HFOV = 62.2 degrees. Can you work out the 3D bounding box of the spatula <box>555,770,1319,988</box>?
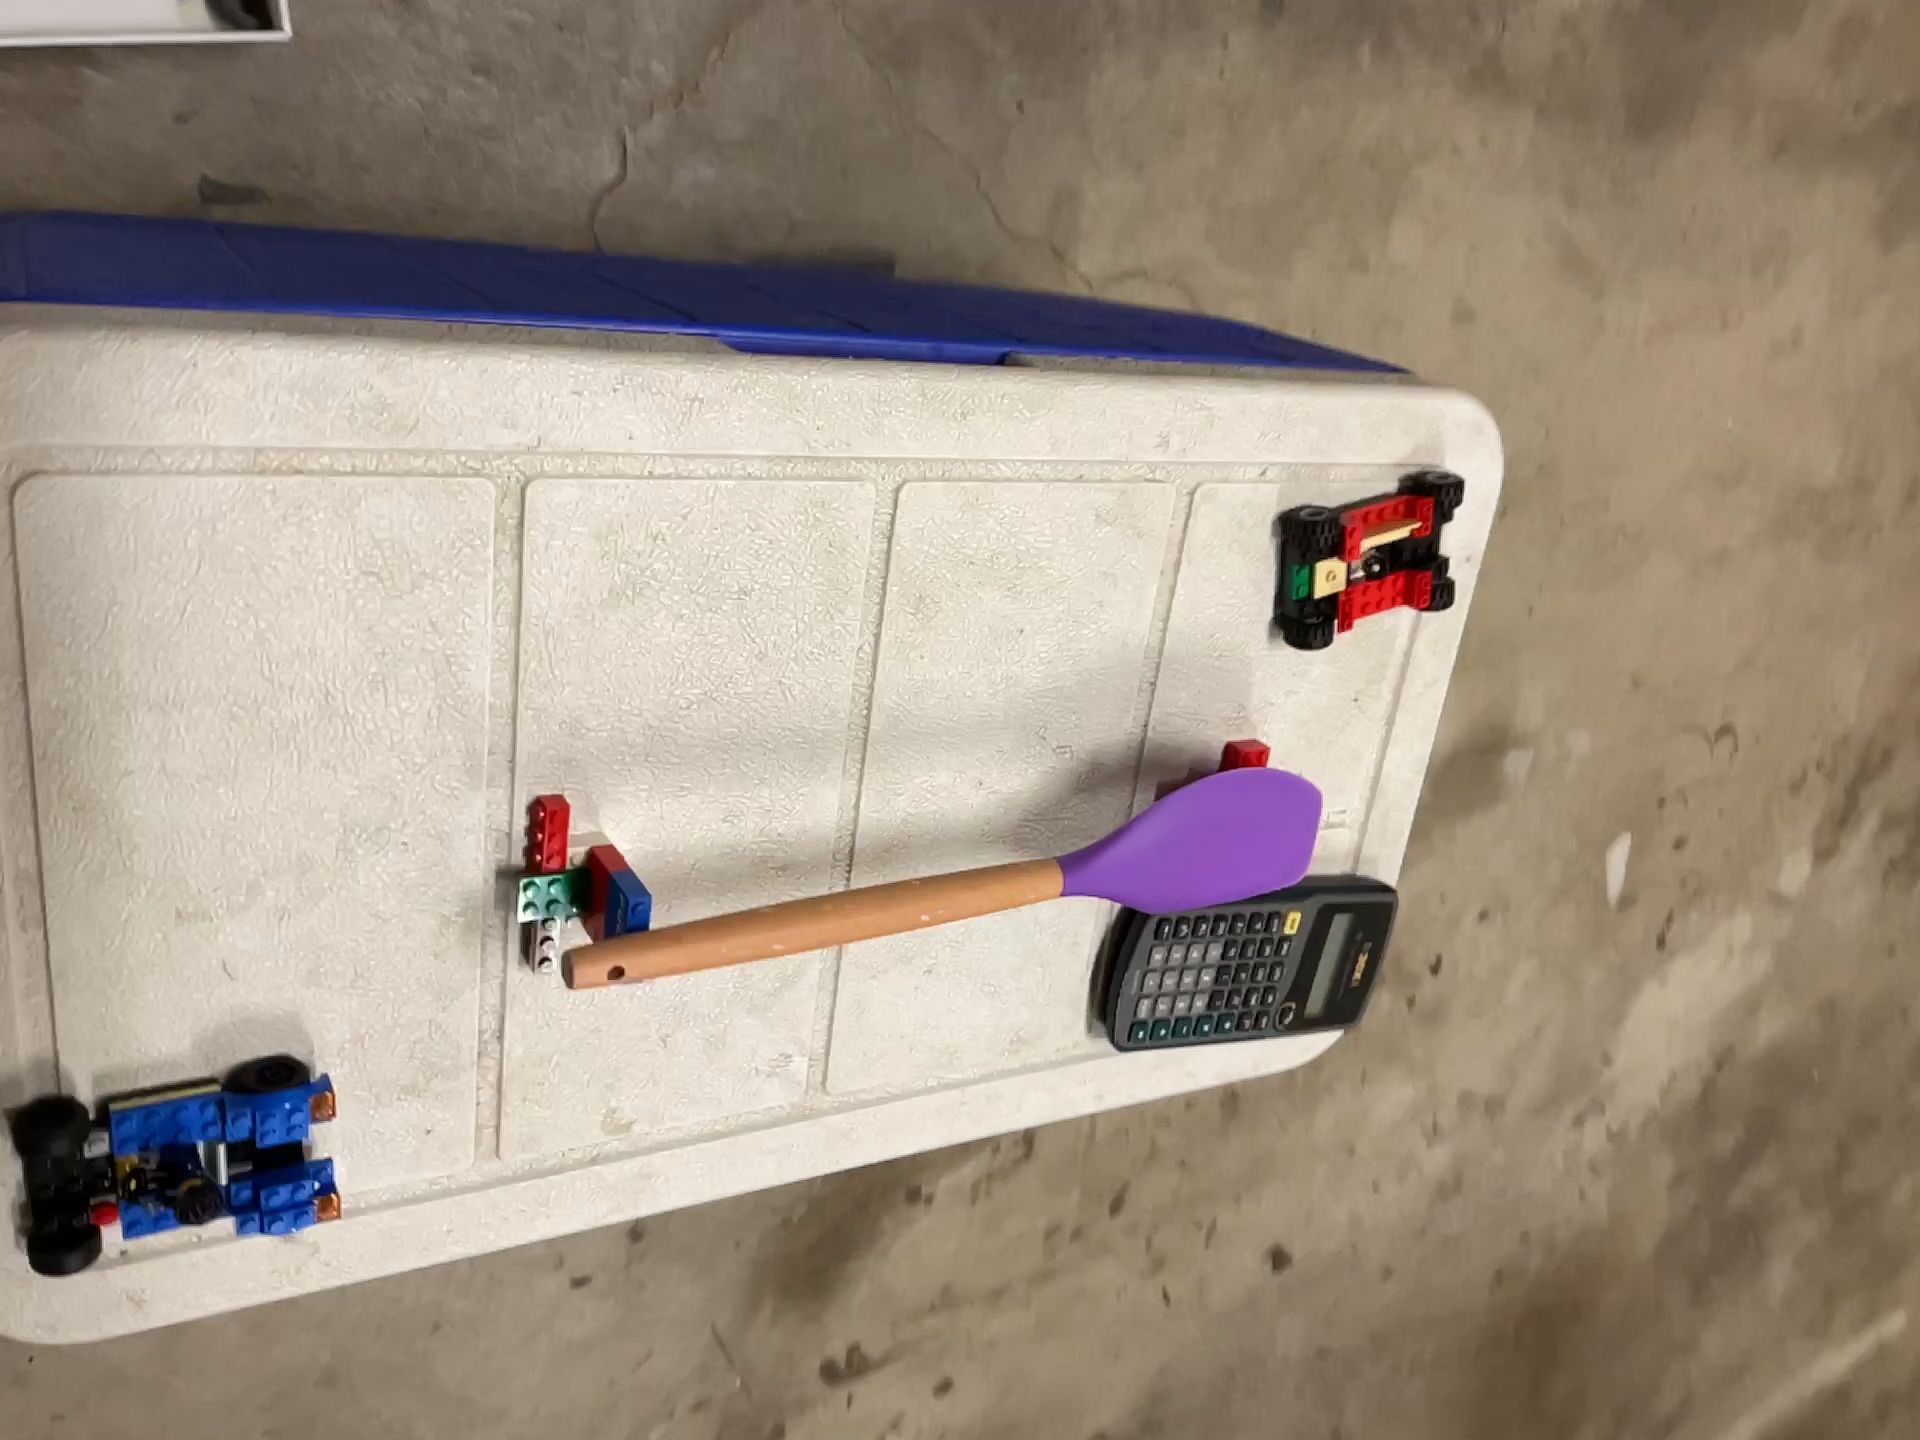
[{"bbox_3d":[0.011,0.059,0.574,0.316,0.018,0.059,-7,116,-31],"label":"spatula"}]
